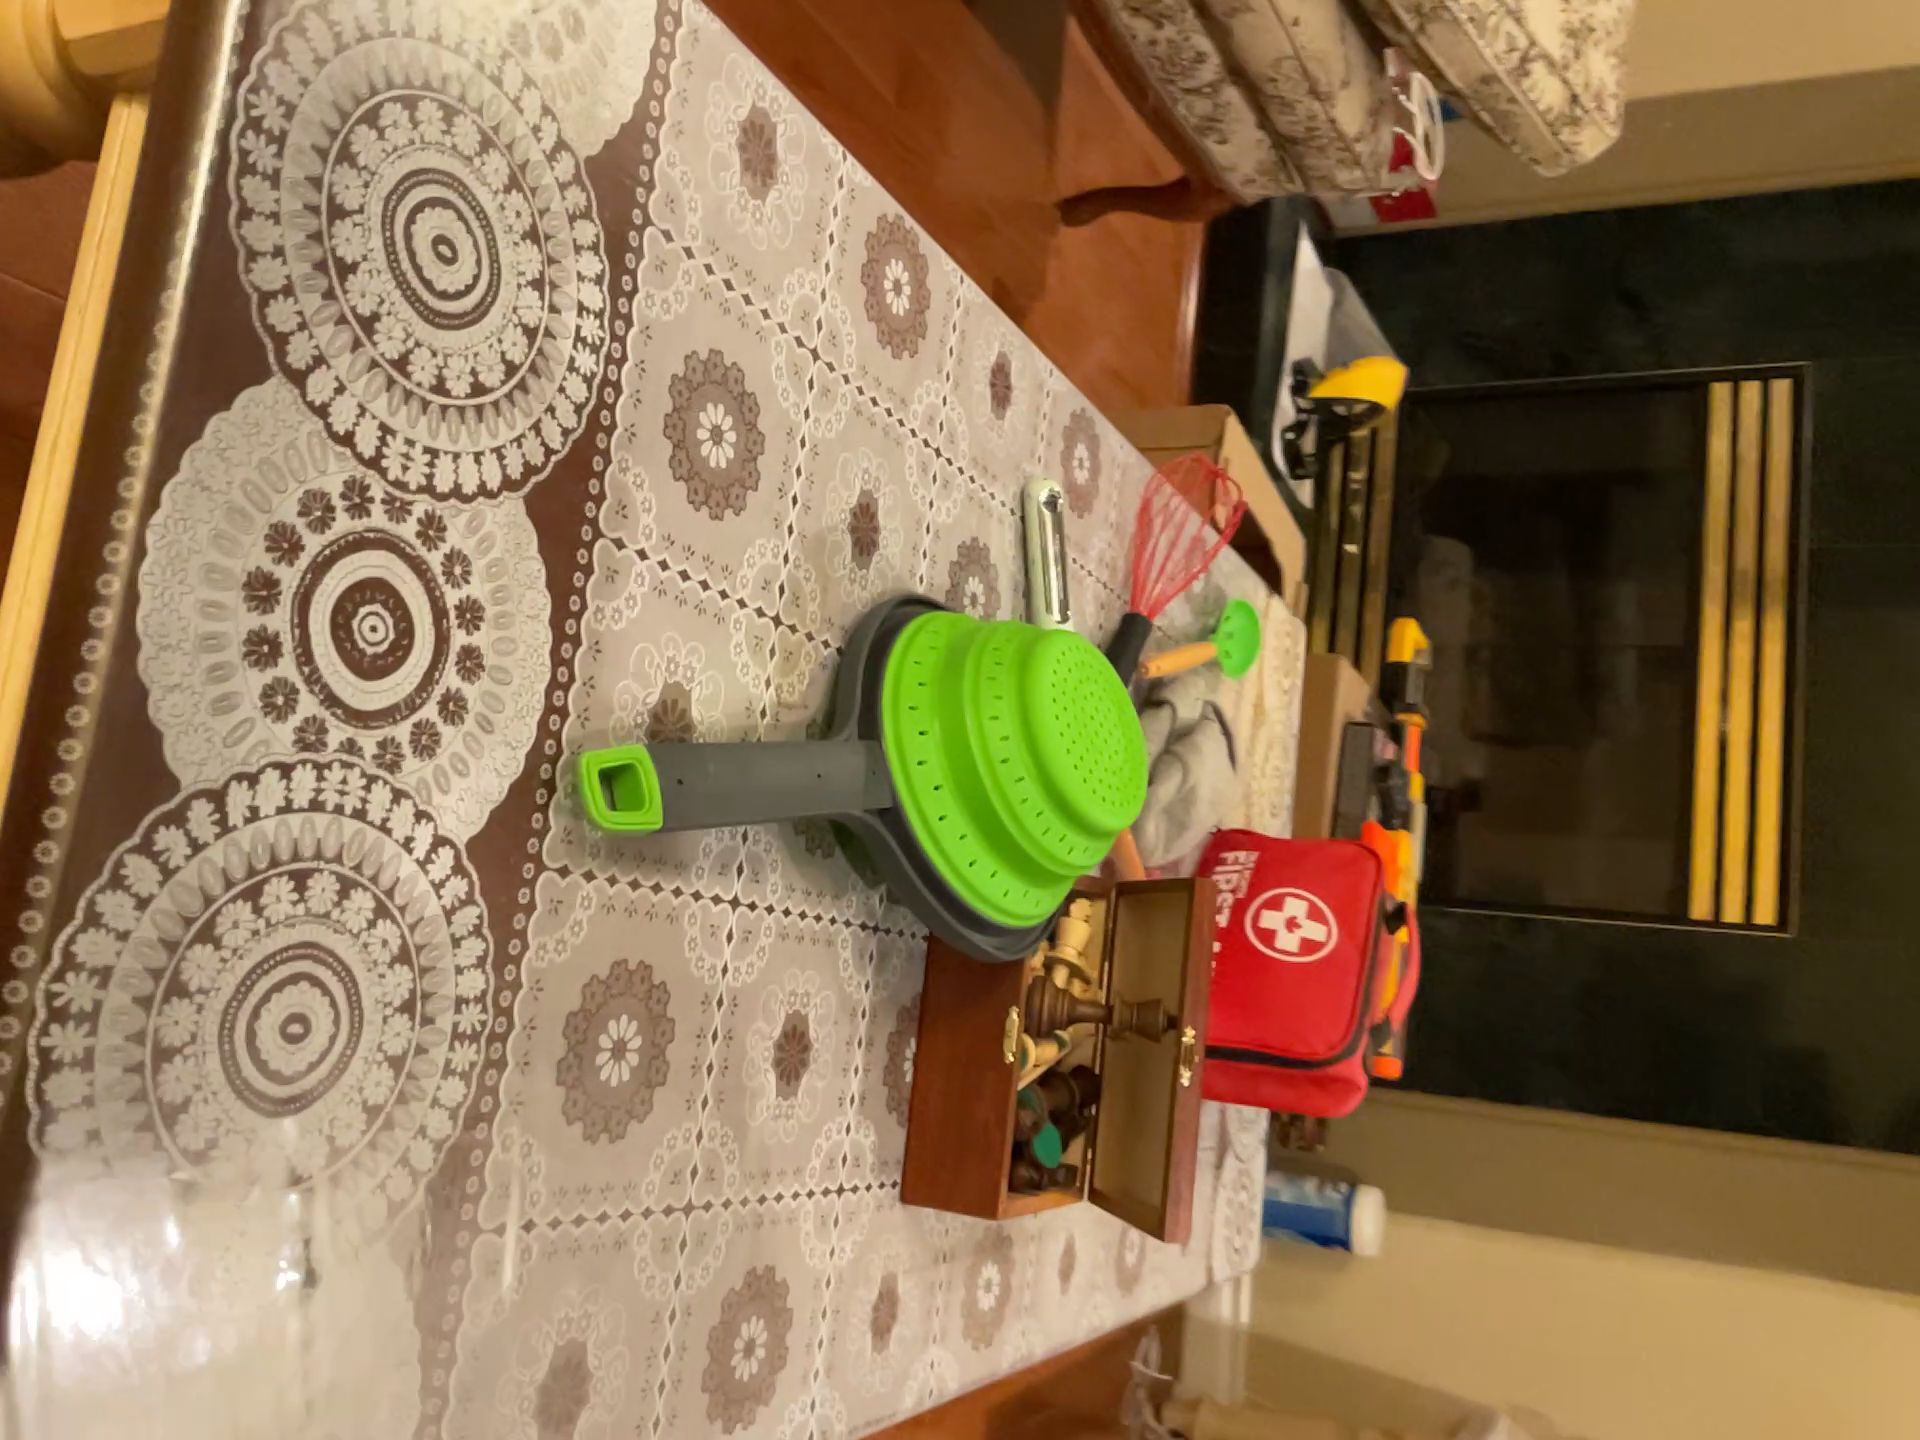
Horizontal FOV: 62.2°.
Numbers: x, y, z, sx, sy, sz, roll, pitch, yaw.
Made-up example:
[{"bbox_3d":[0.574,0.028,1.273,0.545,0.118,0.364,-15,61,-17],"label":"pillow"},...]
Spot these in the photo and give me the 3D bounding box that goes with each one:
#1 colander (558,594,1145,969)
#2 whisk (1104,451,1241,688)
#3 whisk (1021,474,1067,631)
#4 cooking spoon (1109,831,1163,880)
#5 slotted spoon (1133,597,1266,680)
[{"bbox_3d":[-0.014,0.018,0.752,0.397,0.094,0.205,1,72,-57],"label":"colander"},{"bbox_3d":[0.134,-0.083,1.136,0.296,0.073,0.073,-62,151,-30],"label":"whisk"},{"bbox_3d":[0.056,-0.031,1.002,0.058,0.059,0.246,-159,-116,-74],"label":"whisk"},{"bbox_3d":[0.119,0.106,1.096,0.318,0.017,0.069,60,38,-64],"label":"cooking spoon"},{"bbox_3d":[0.189,-0.055,1.250,0.313,0.031,0.070,-17,108,-65],"label":"slotted spoon"}]
